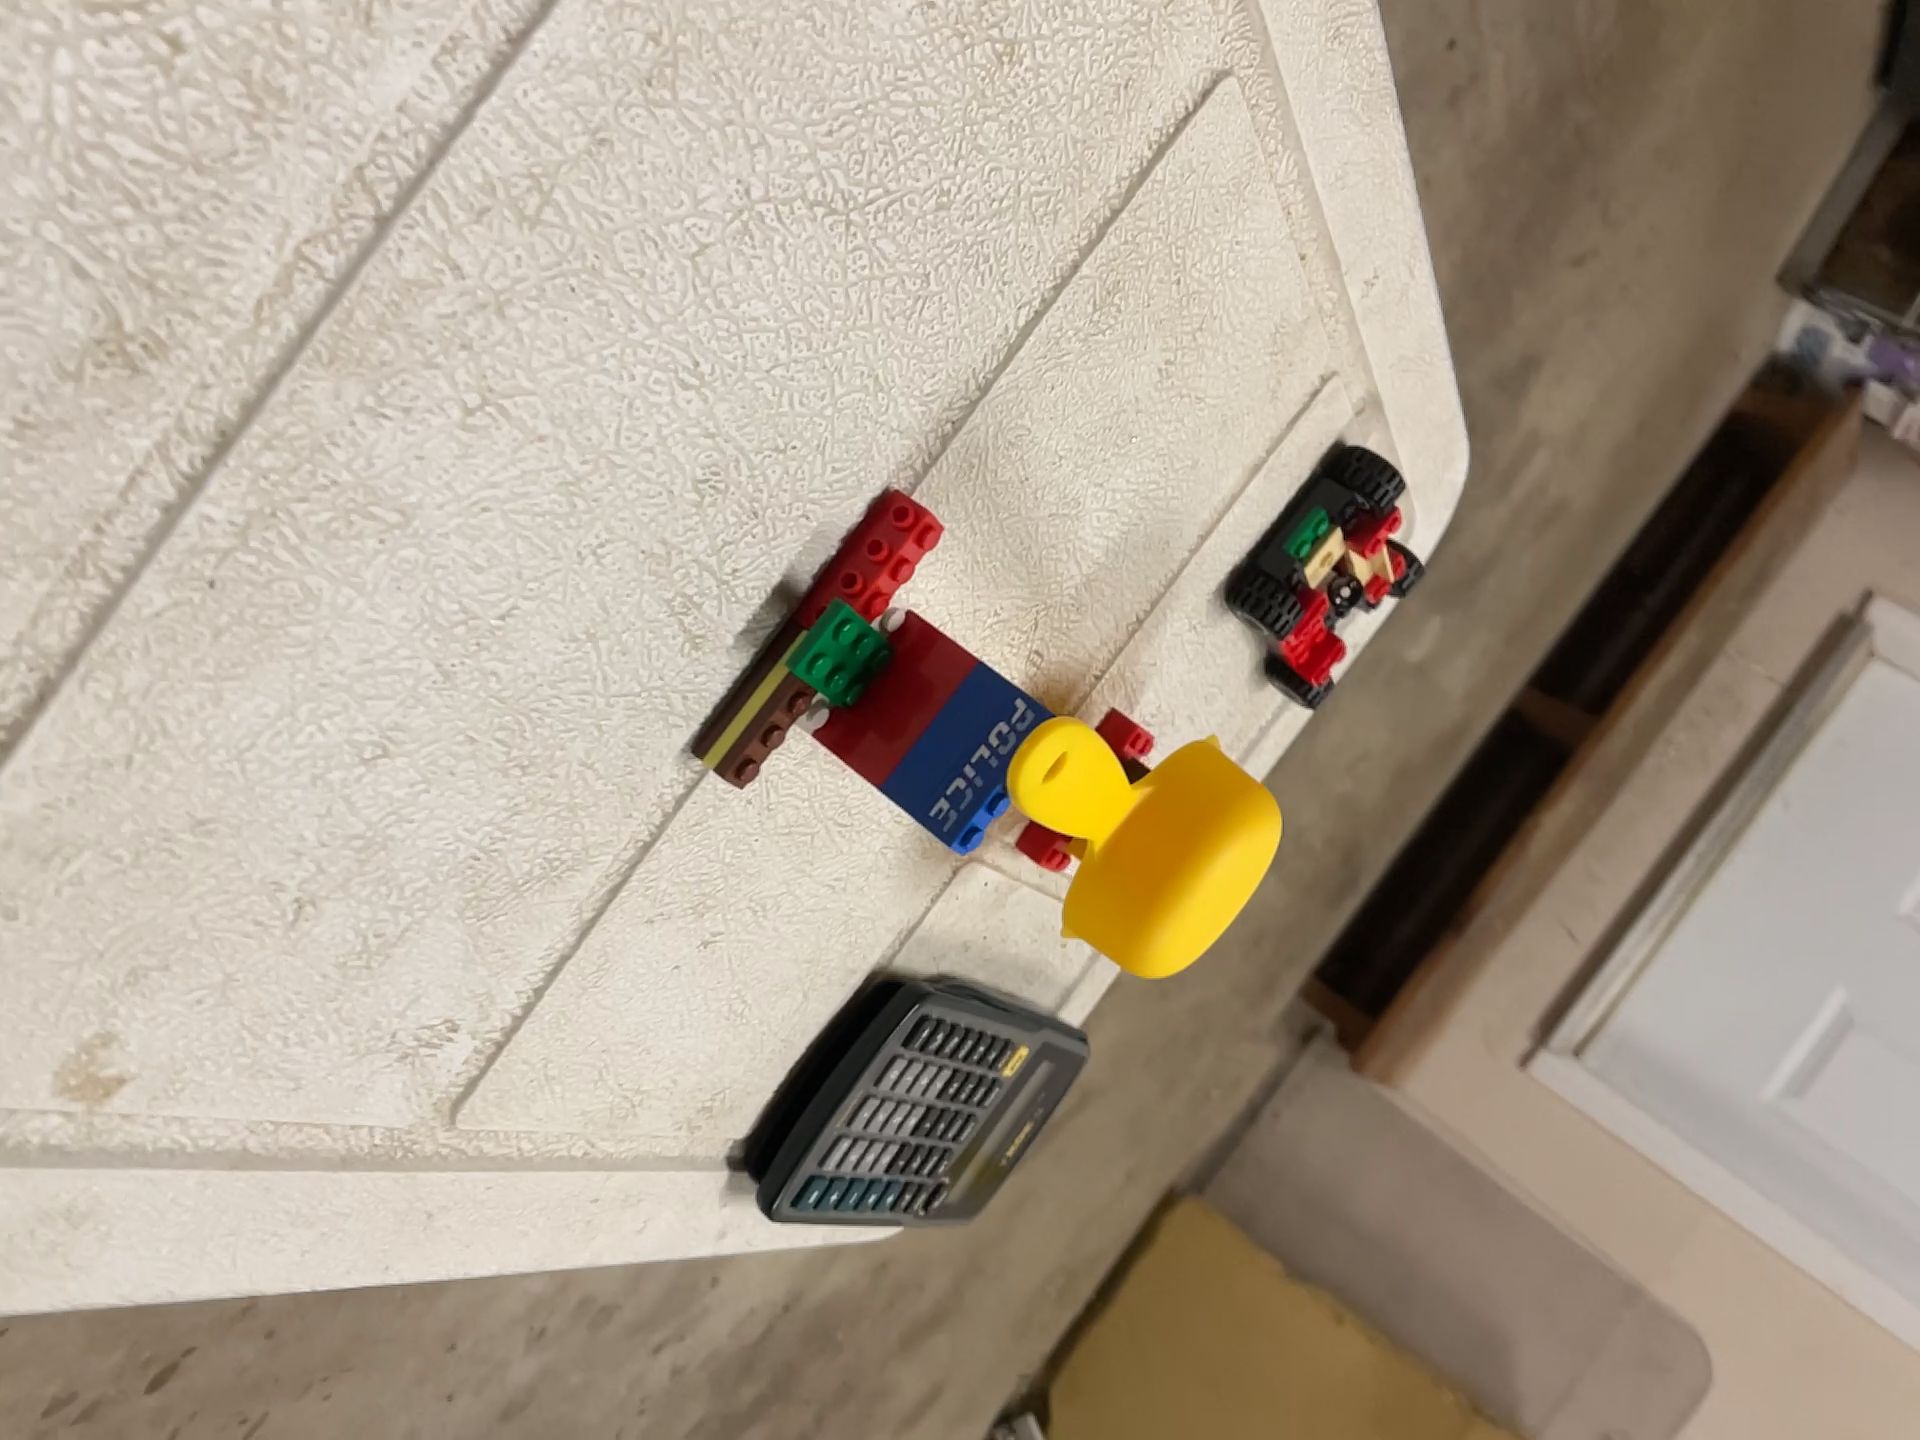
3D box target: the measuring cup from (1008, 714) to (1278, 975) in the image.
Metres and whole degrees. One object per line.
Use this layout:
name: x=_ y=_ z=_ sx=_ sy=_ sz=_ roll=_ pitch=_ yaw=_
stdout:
measuring cup: x=0.042 y=0.027 z=0.358 sx=0.062 sy=0.029 sz=0.156 roll=-53 pitch=159 yaw=0
